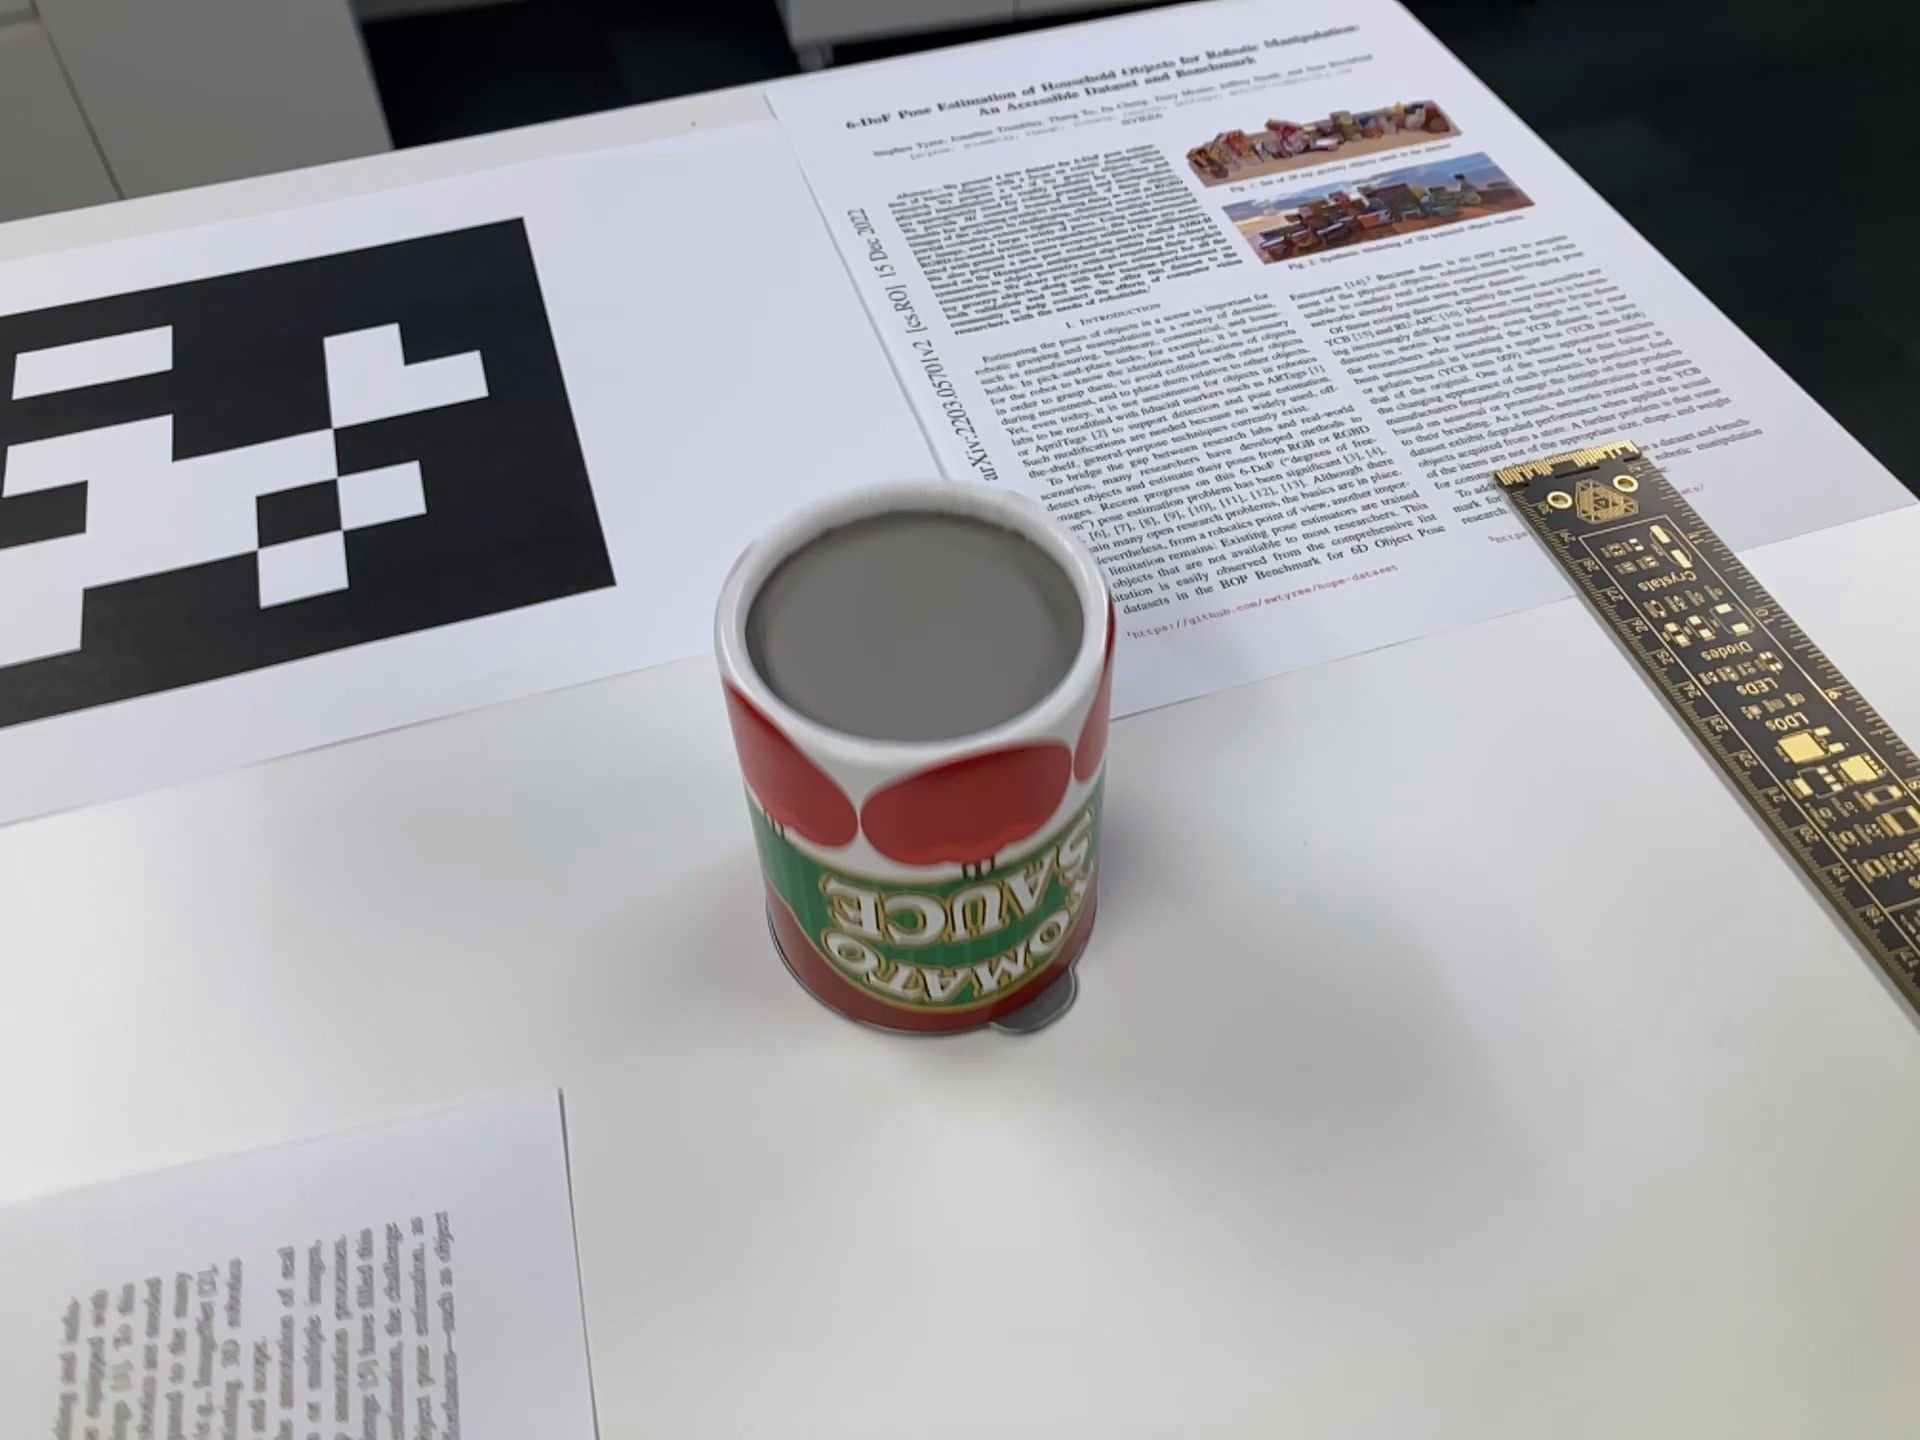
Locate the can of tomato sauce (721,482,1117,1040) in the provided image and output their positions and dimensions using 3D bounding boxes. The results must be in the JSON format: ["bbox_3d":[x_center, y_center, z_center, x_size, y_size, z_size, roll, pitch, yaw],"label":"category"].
[{"bbox_3d":[-0.007,0.010,0.289,0.071,0.083,0.071,1,50,-1],"label":"can of tomato sauce"}]
